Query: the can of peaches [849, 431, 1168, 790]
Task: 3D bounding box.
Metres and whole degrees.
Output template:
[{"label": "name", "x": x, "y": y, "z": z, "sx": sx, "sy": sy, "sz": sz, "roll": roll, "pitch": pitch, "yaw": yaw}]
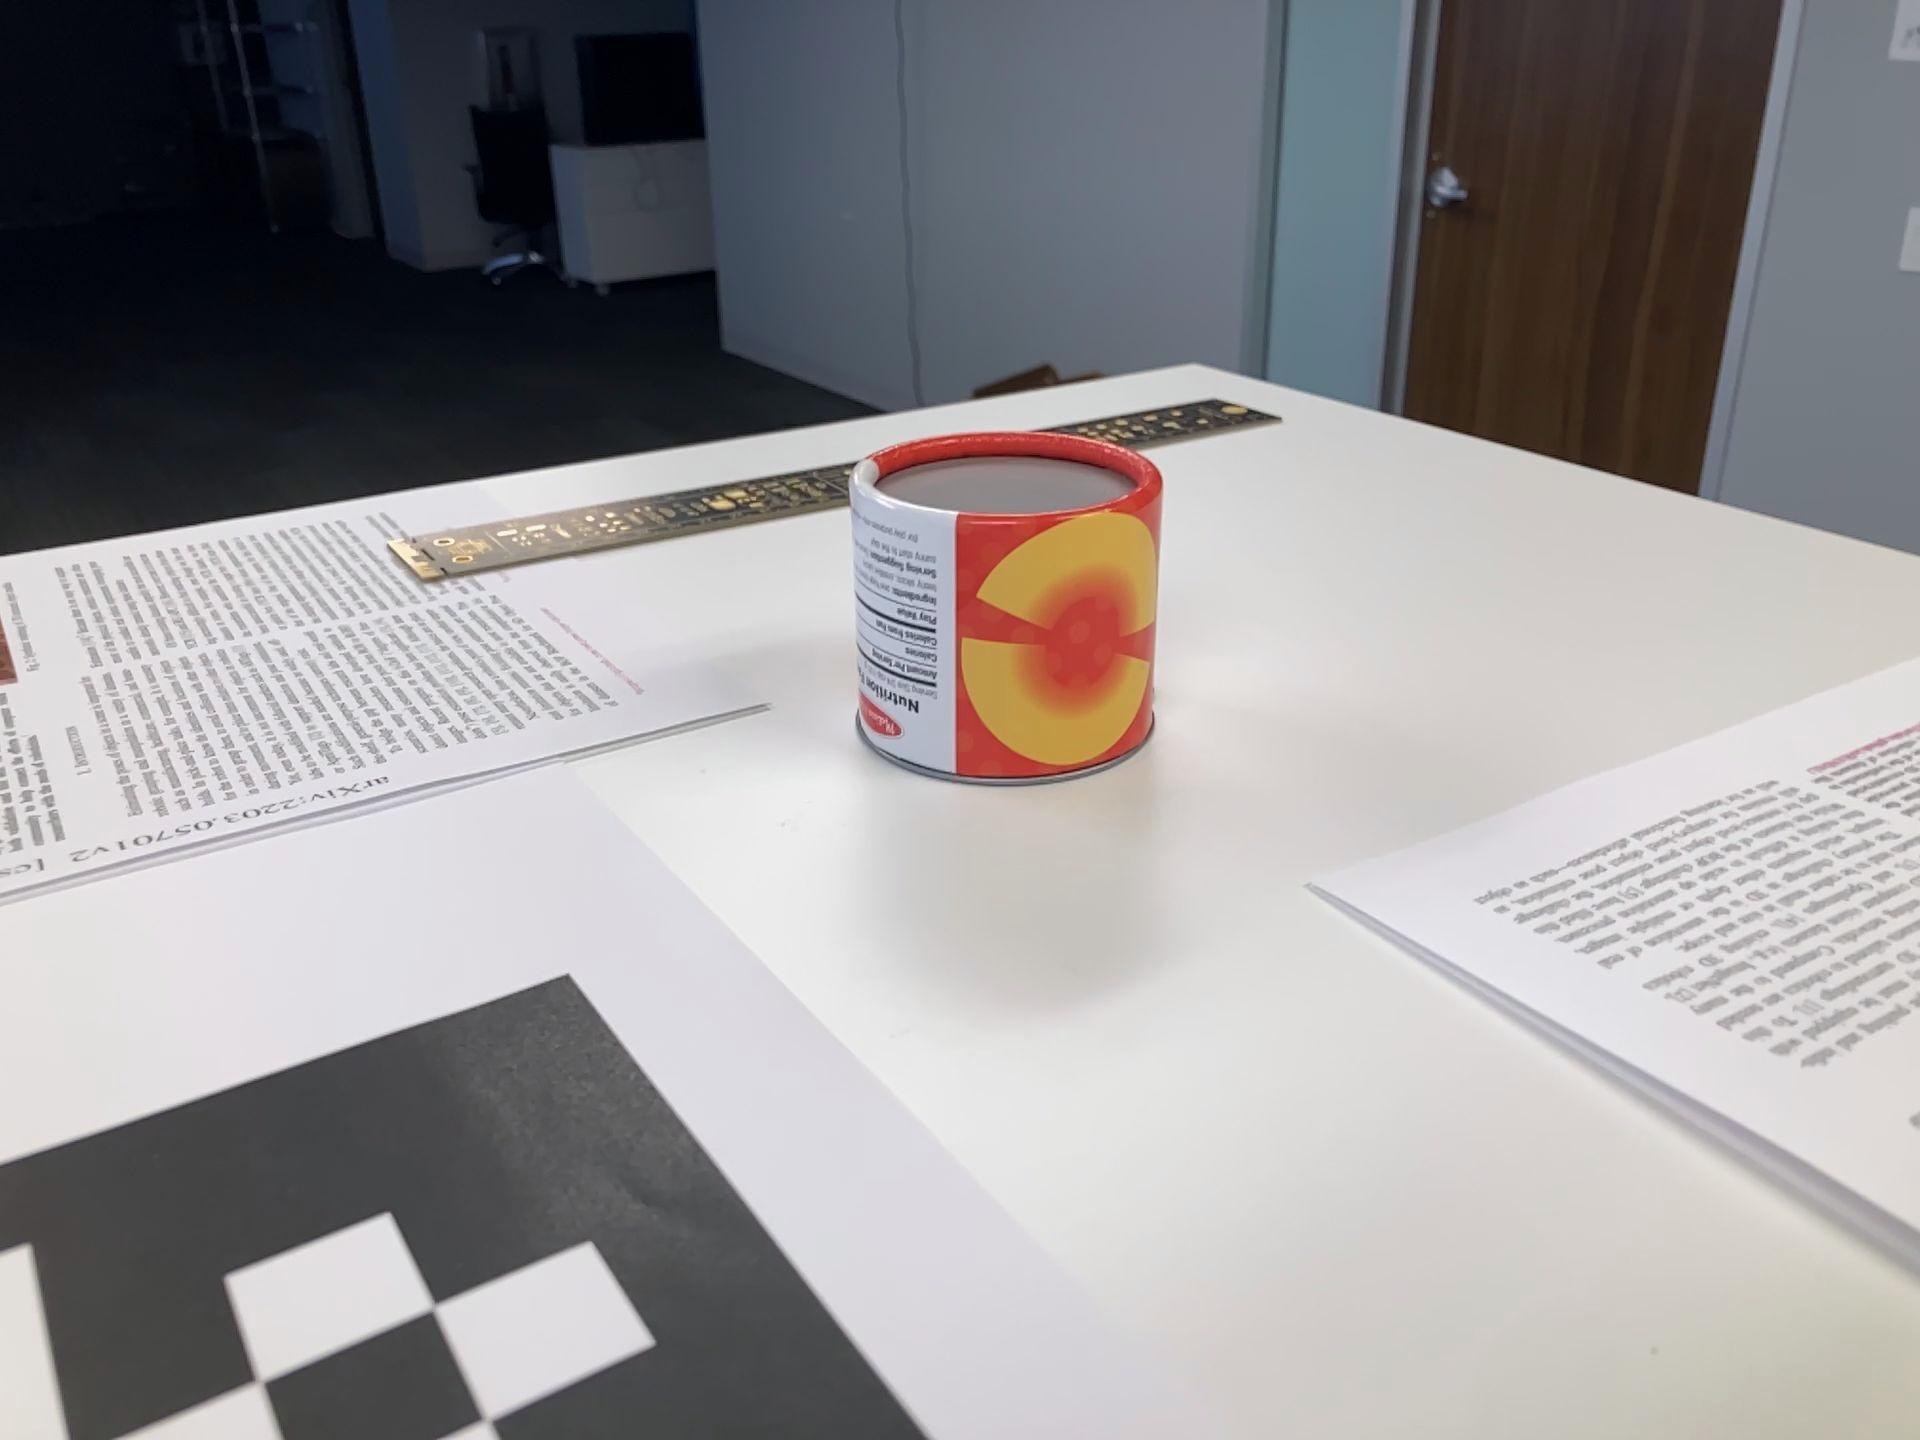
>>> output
[{"label": "can of peaches", "x": 0.012, "y": -0.026, "z": 0.337, "sx": 0.071, "sy": 0.058, "sz": 0.071, "roll": -1, "pitch": 24, "yaw": 1}]
